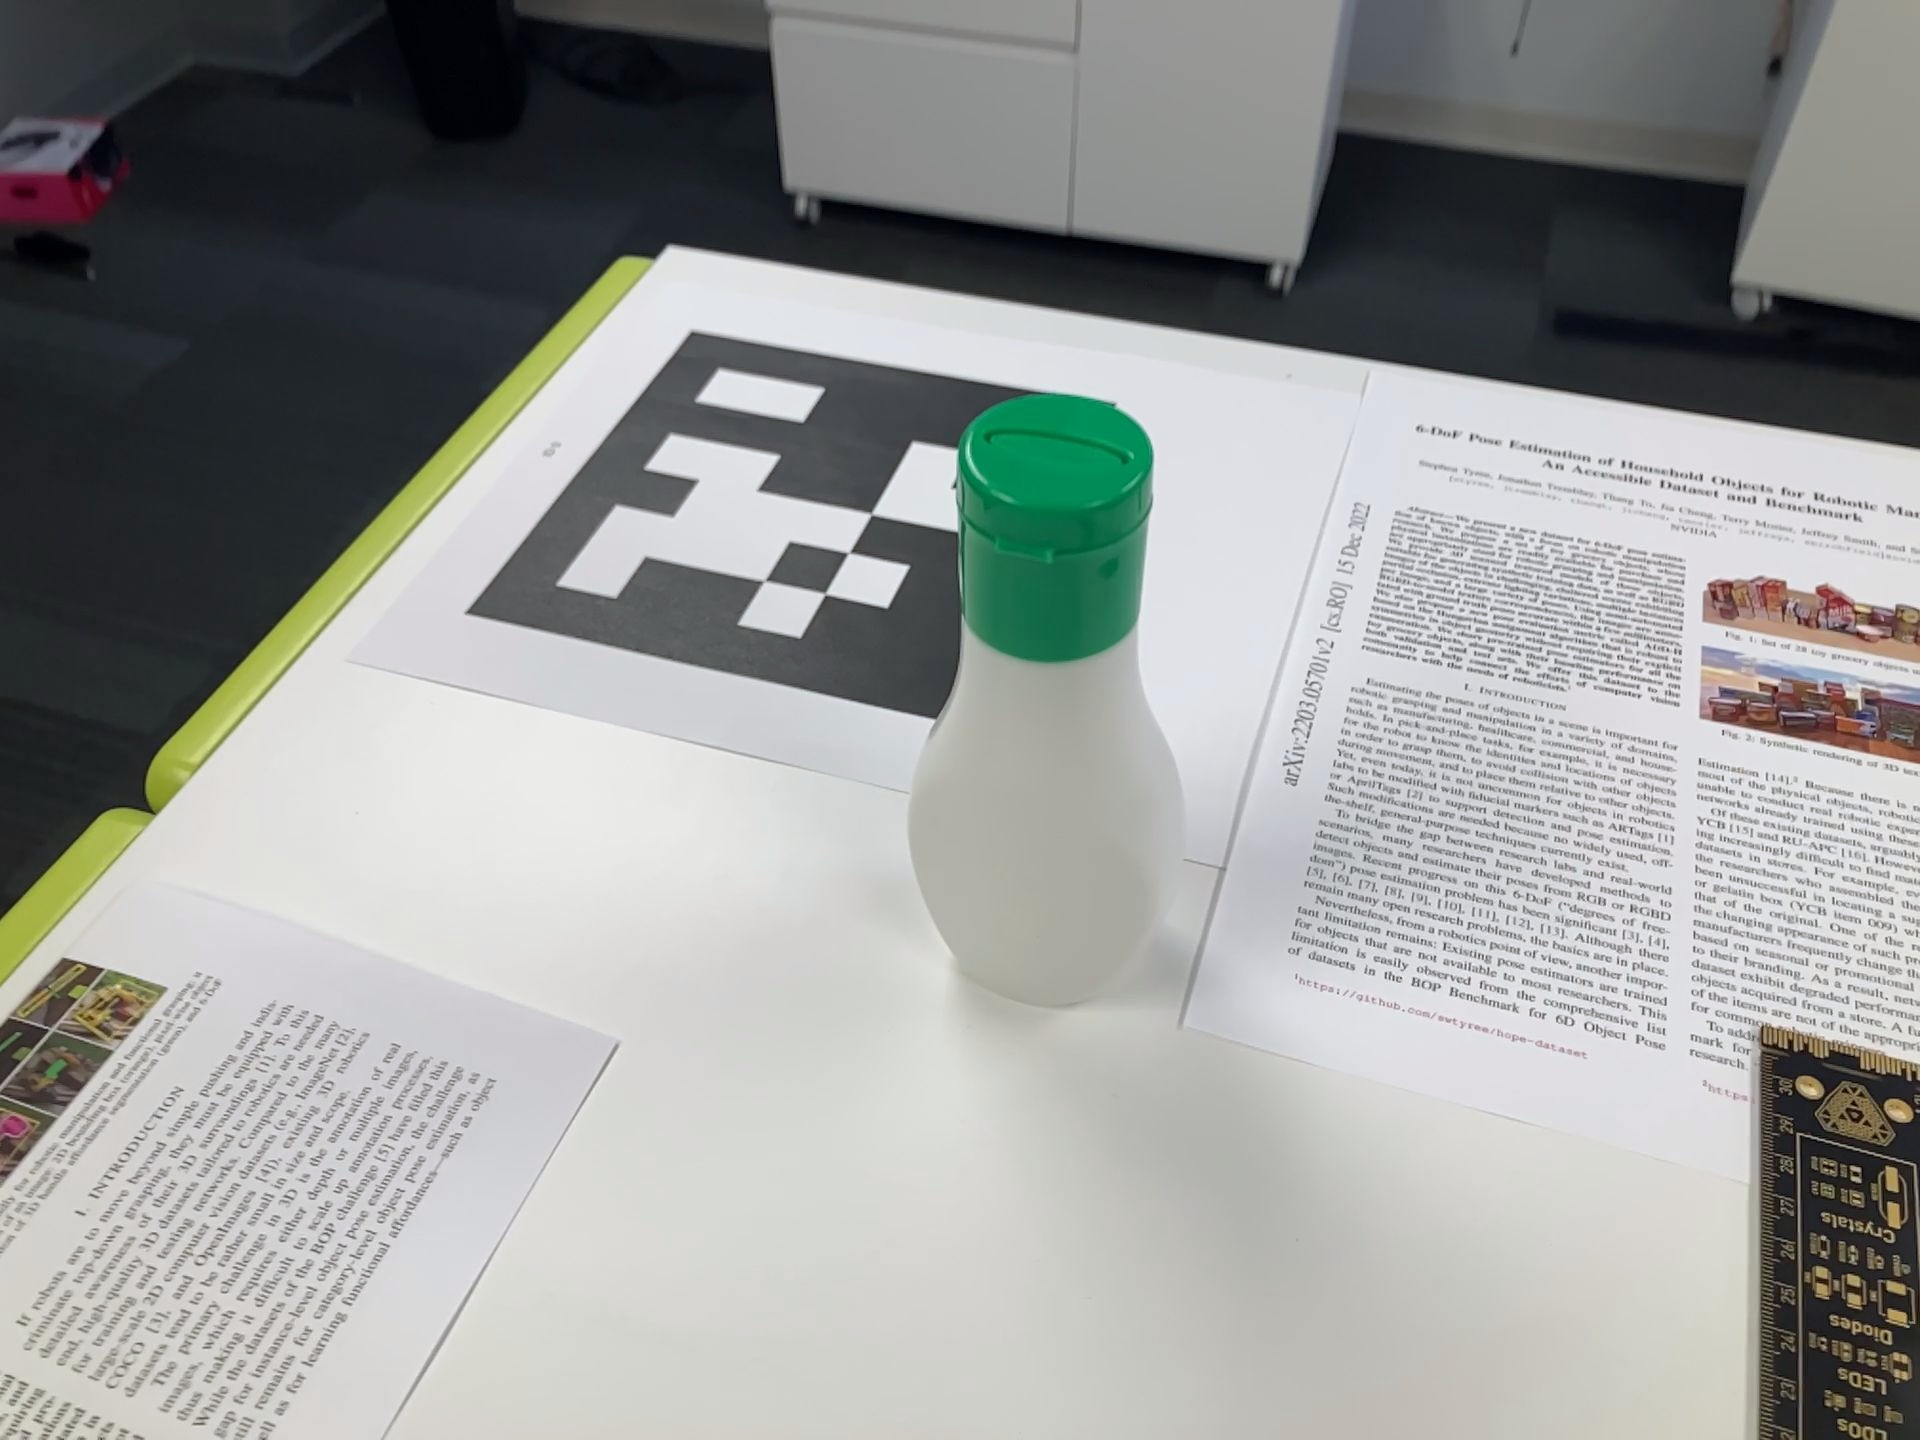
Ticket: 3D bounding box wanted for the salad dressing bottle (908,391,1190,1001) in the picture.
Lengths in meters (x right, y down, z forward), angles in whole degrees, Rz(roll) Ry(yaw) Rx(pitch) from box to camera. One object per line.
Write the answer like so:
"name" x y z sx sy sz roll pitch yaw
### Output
"salad dressing bottle" 0.020 0.001 0.340 0.064 0.147 0.044 14 48 14
